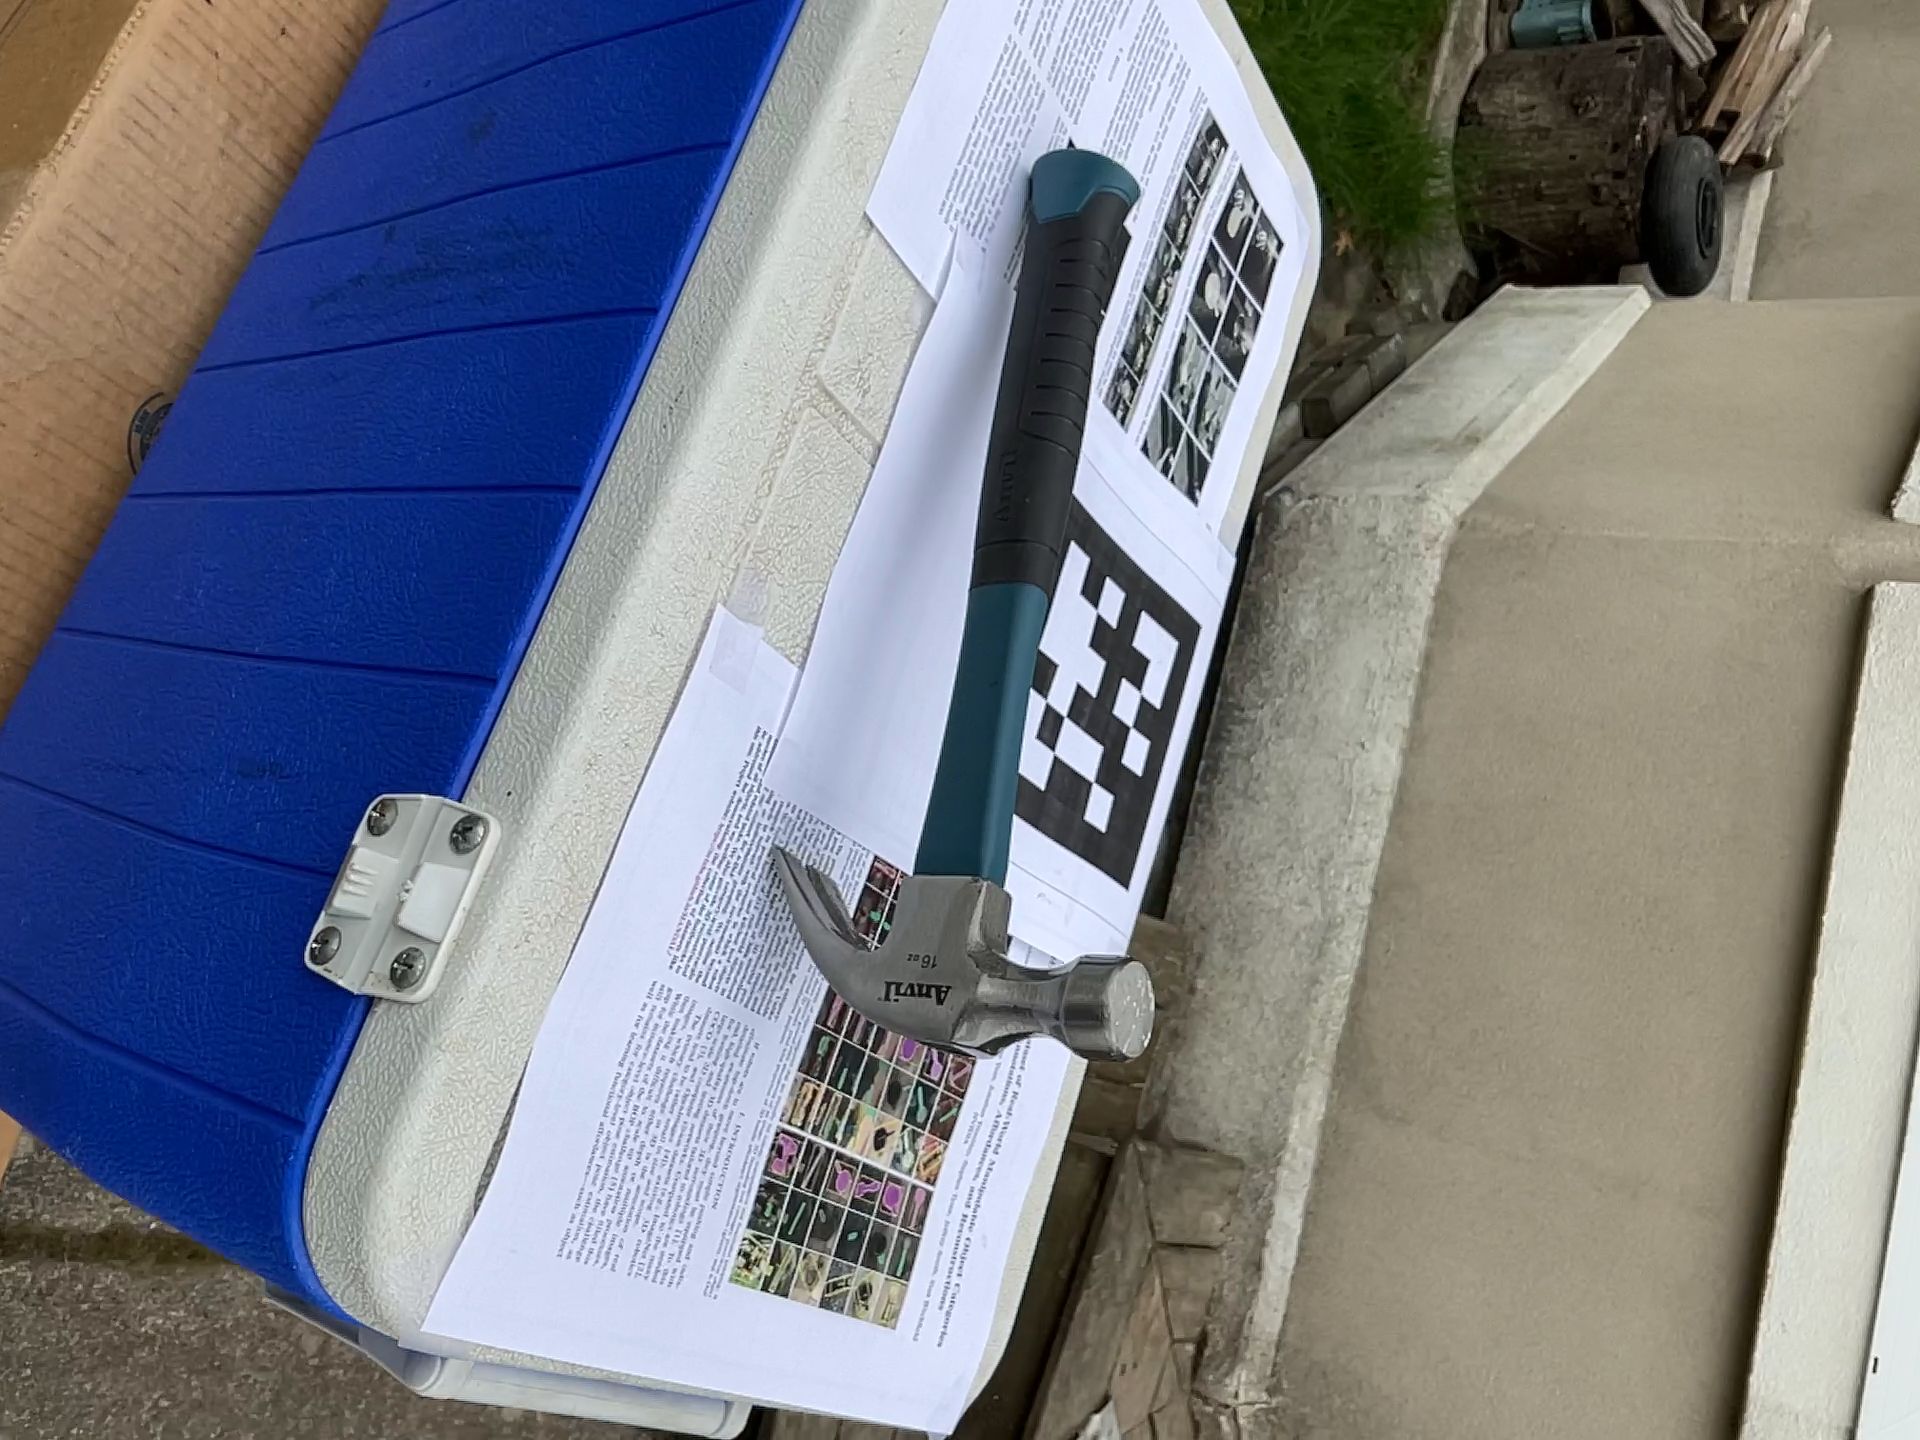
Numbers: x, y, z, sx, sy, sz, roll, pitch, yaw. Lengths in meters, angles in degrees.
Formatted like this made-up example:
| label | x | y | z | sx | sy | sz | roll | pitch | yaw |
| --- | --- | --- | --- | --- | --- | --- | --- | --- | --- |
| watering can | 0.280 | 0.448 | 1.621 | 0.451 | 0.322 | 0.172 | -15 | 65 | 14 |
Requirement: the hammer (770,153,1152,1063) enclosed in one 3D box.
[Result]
| label | x | y | z | sx | sy | sz | roll | pitch | yaw |
| --- | --- | --- | --- | --- | --- | --- | --- | --- | --- |
| hammer | 0.019 | -0.054 | 0.535 | 0.033 | 0.128 | 0.331 | 40 | 54 | -51 |
